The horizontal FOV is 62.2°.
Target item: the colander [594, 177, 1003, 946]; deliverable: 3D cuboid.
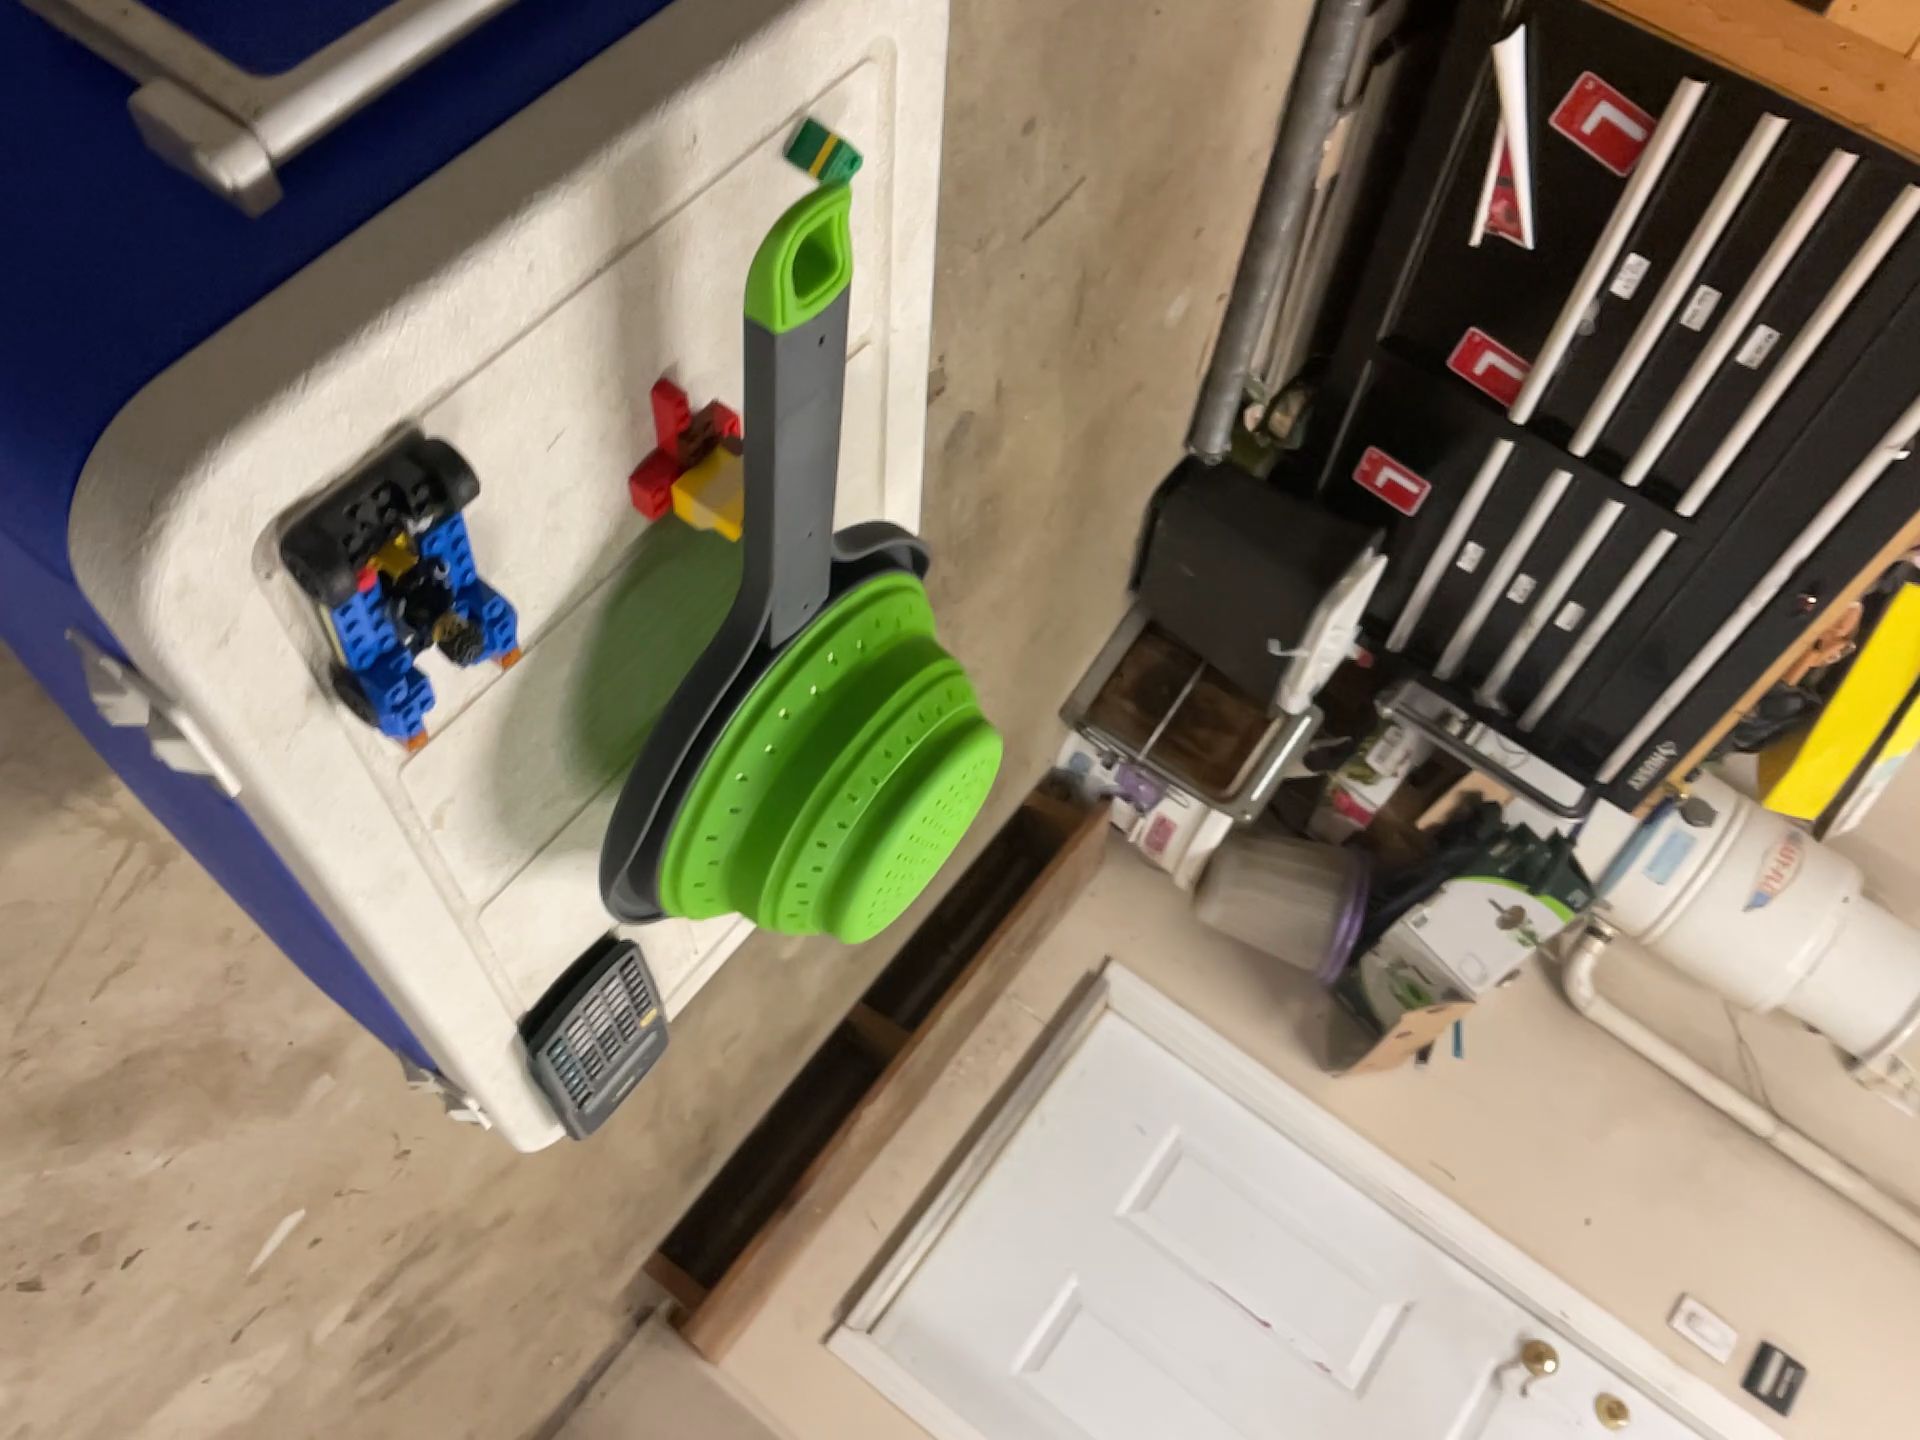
[{"bbox_3d":[-0.039,-0.019,0.594,0.205,0.094,0.396,-48,164,-30],"label":"colander"}]
